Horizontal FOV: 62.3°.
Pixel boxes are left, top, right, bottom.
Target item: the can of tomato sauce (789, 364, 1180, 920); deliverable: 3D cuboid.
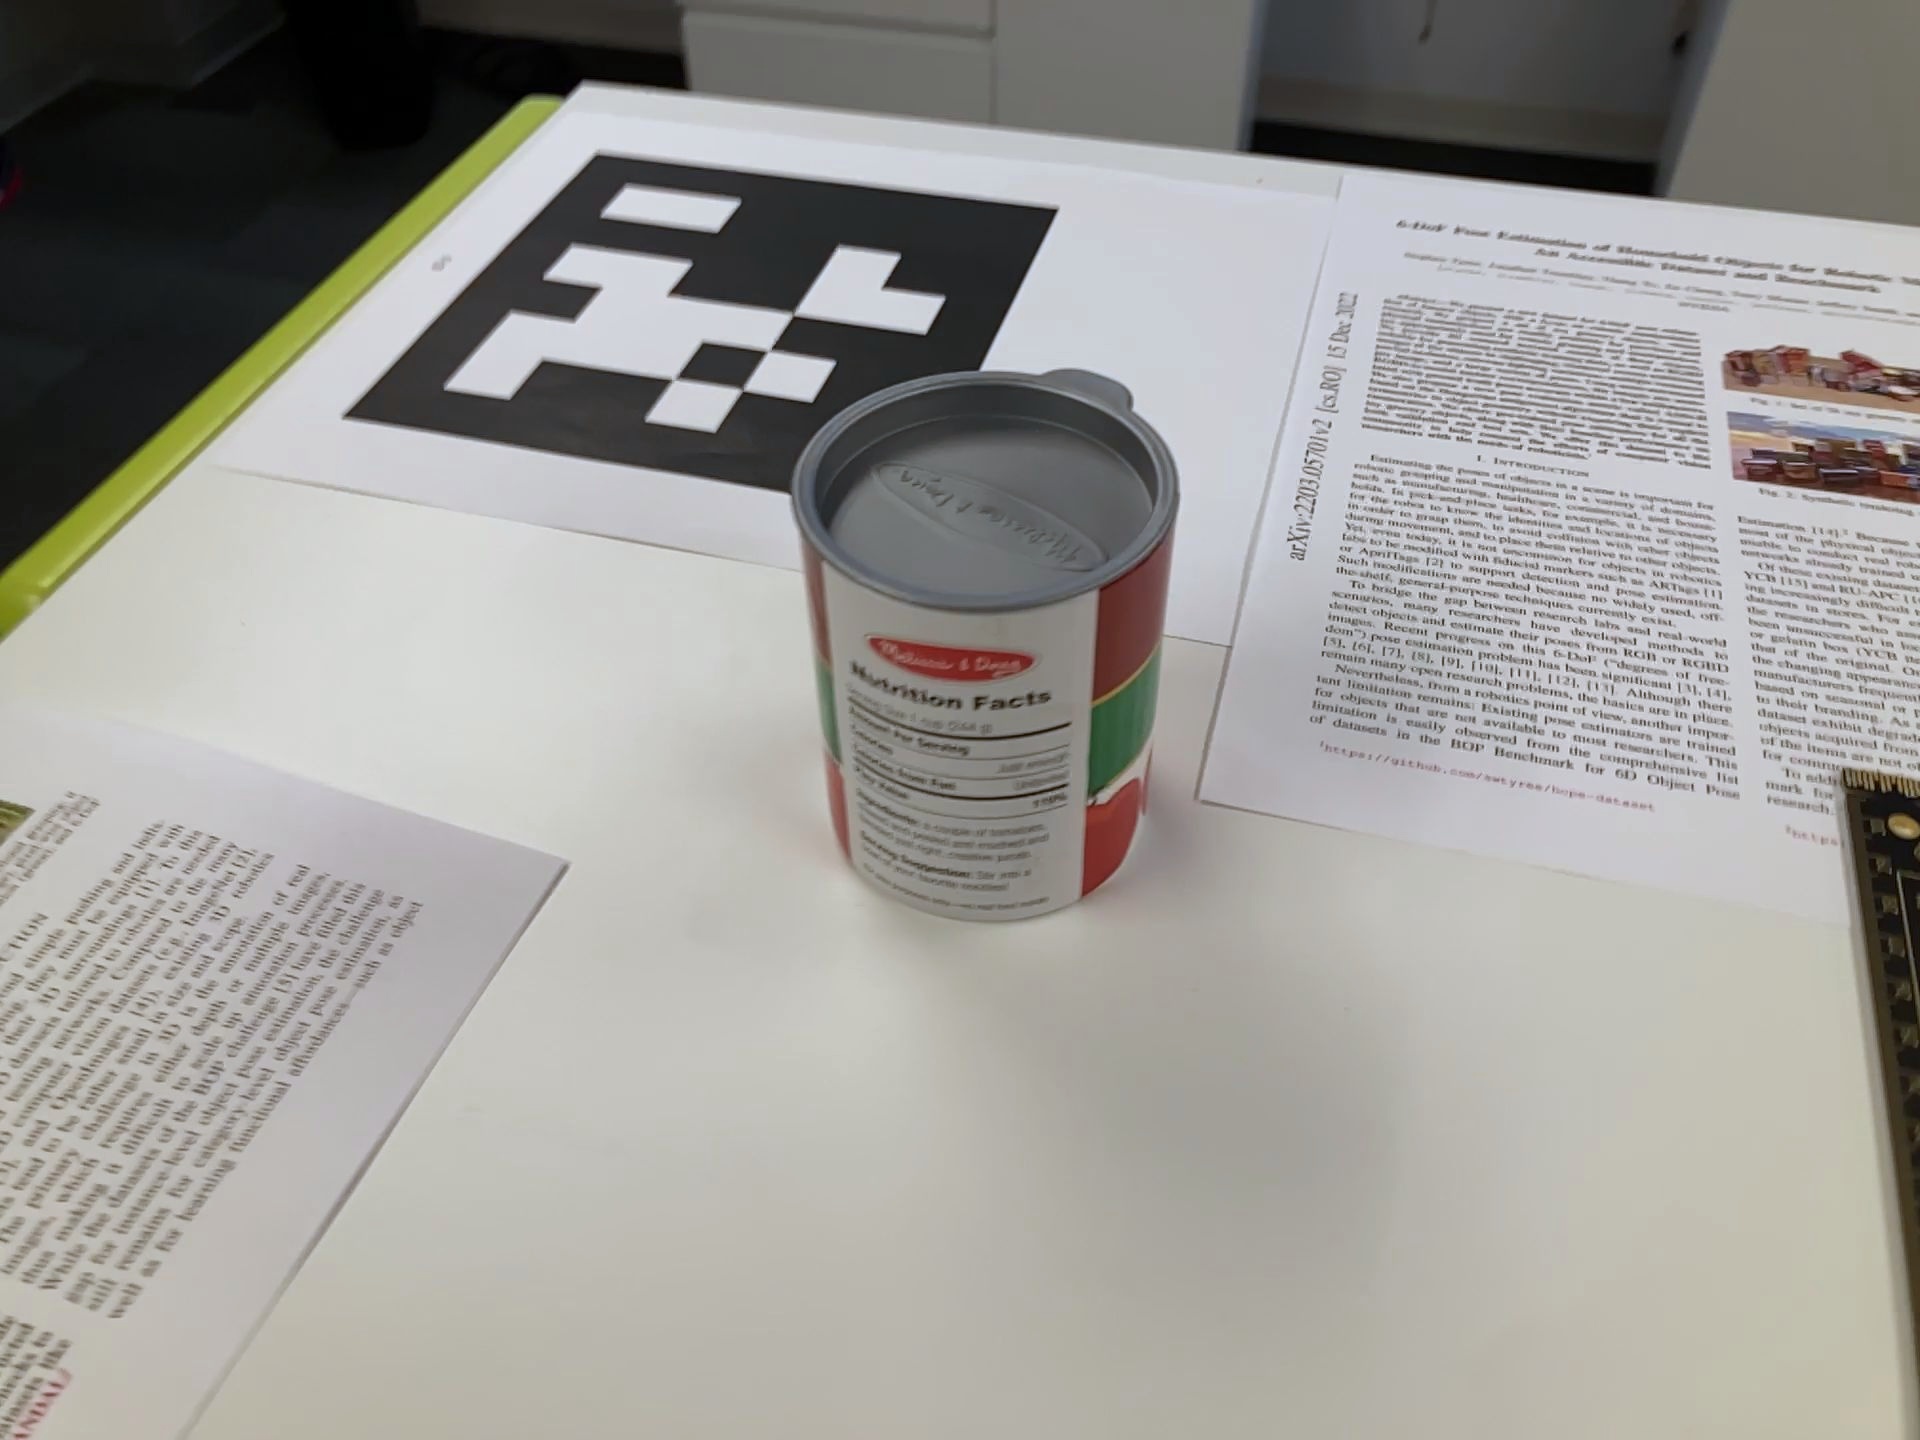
[{"bbox_3d":[0.005,-0.014,0.301,0.071,0.083,0.071,-1,45,1],"label":"can of tomato sauce"}]
